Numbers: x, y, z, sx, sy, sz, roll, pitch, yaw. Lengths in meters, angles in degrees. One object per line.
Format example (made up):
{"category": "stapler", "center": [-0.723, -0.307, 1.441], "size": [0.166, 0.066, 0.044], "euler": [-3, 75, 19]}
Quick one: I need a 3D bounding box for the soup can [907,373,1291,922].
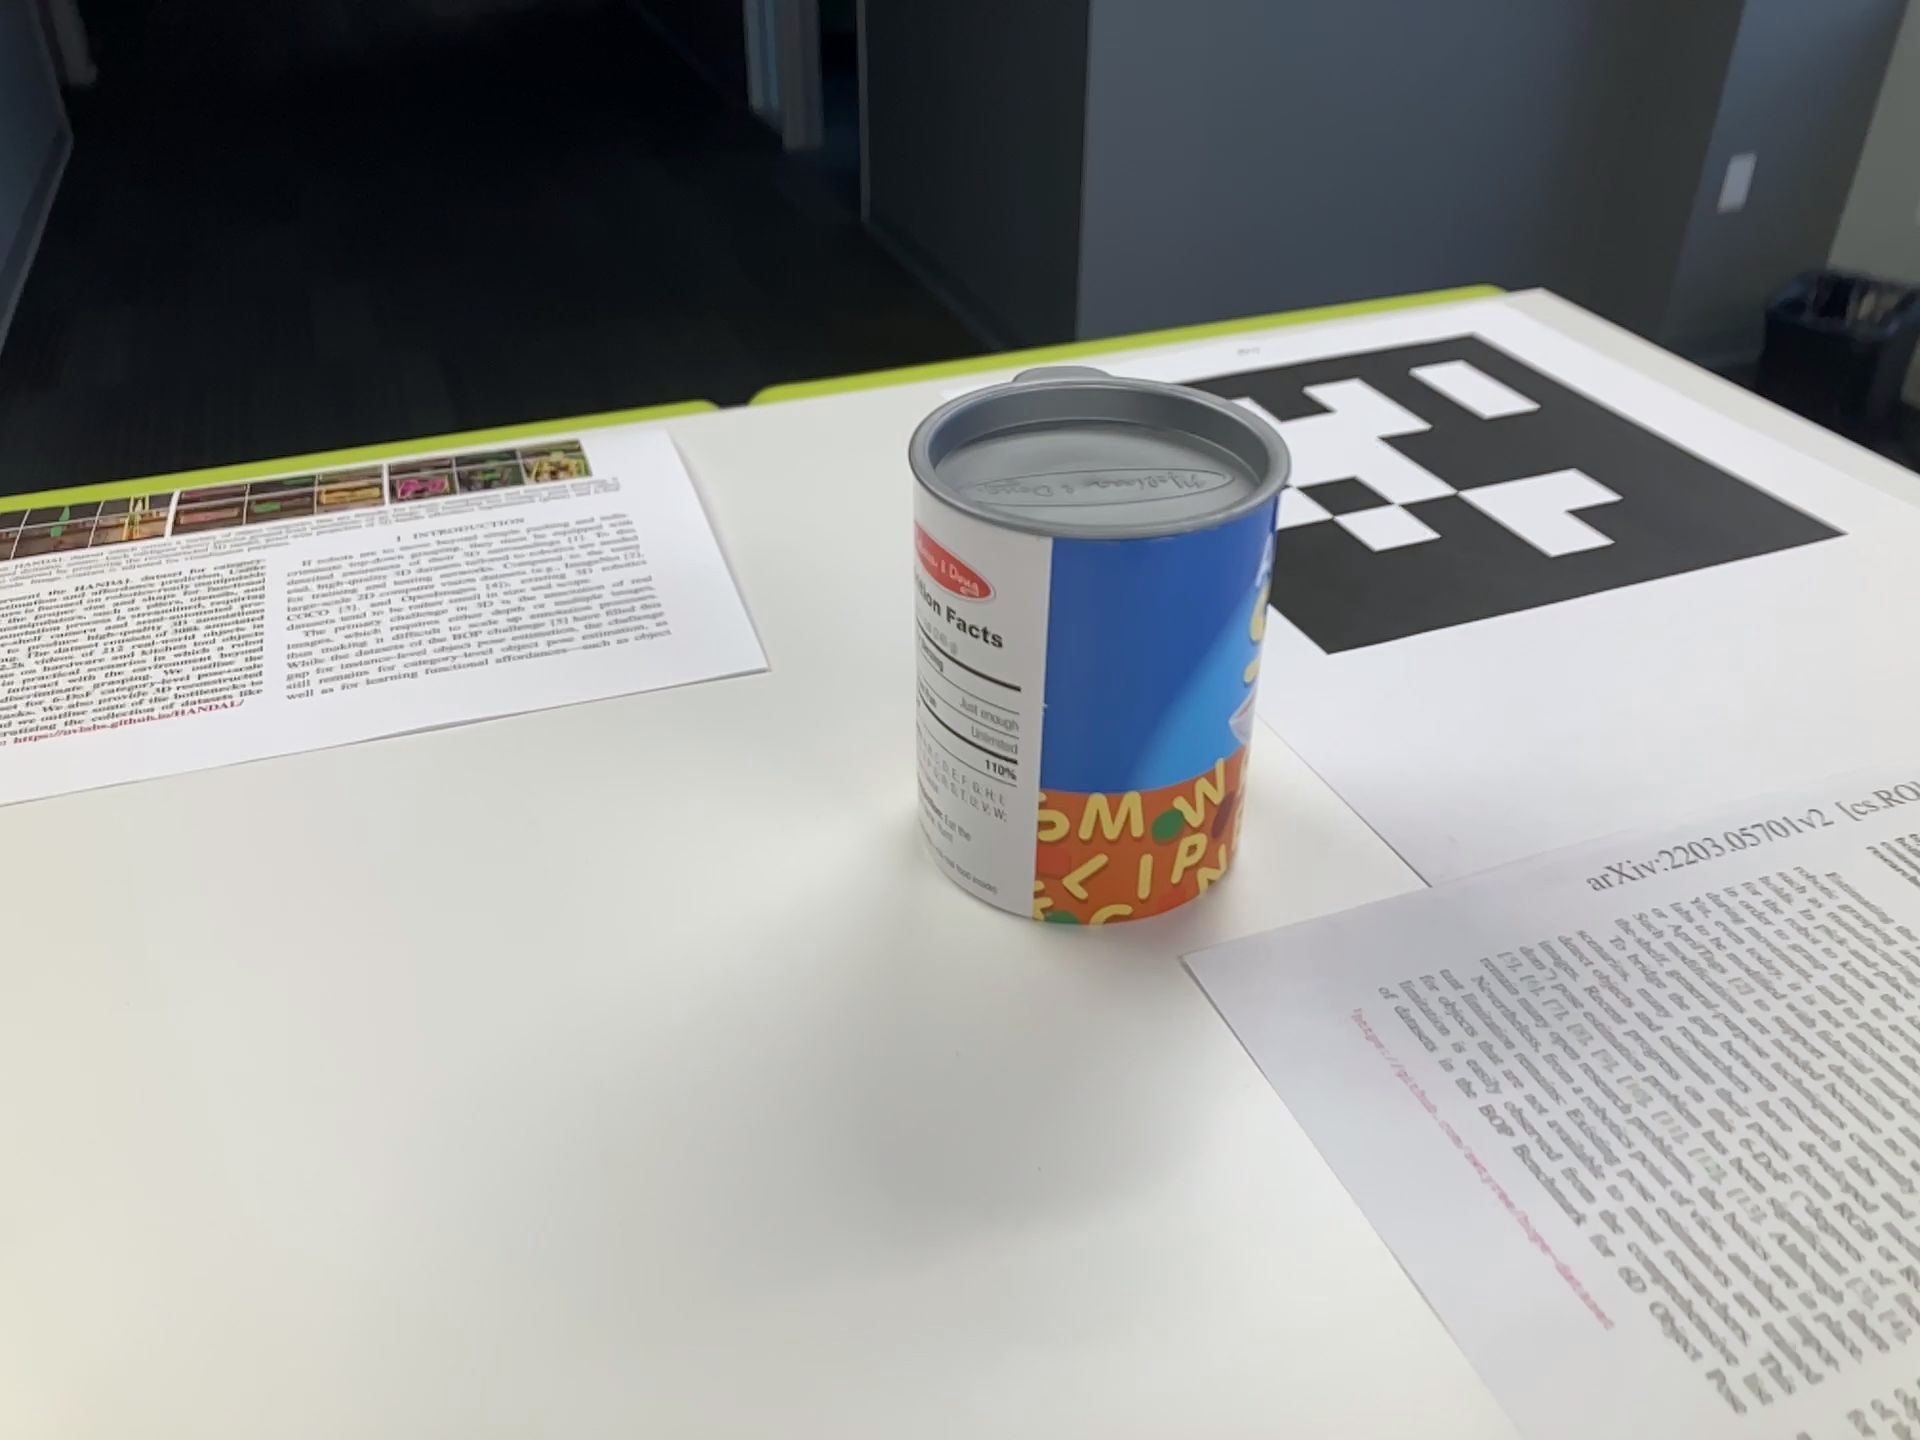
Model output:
{"category": "soup can", "center": [0.027, -0.015, 0.302], "size": [0.071, 0.084, 0.071], "euler": [0, 34, 0]}
